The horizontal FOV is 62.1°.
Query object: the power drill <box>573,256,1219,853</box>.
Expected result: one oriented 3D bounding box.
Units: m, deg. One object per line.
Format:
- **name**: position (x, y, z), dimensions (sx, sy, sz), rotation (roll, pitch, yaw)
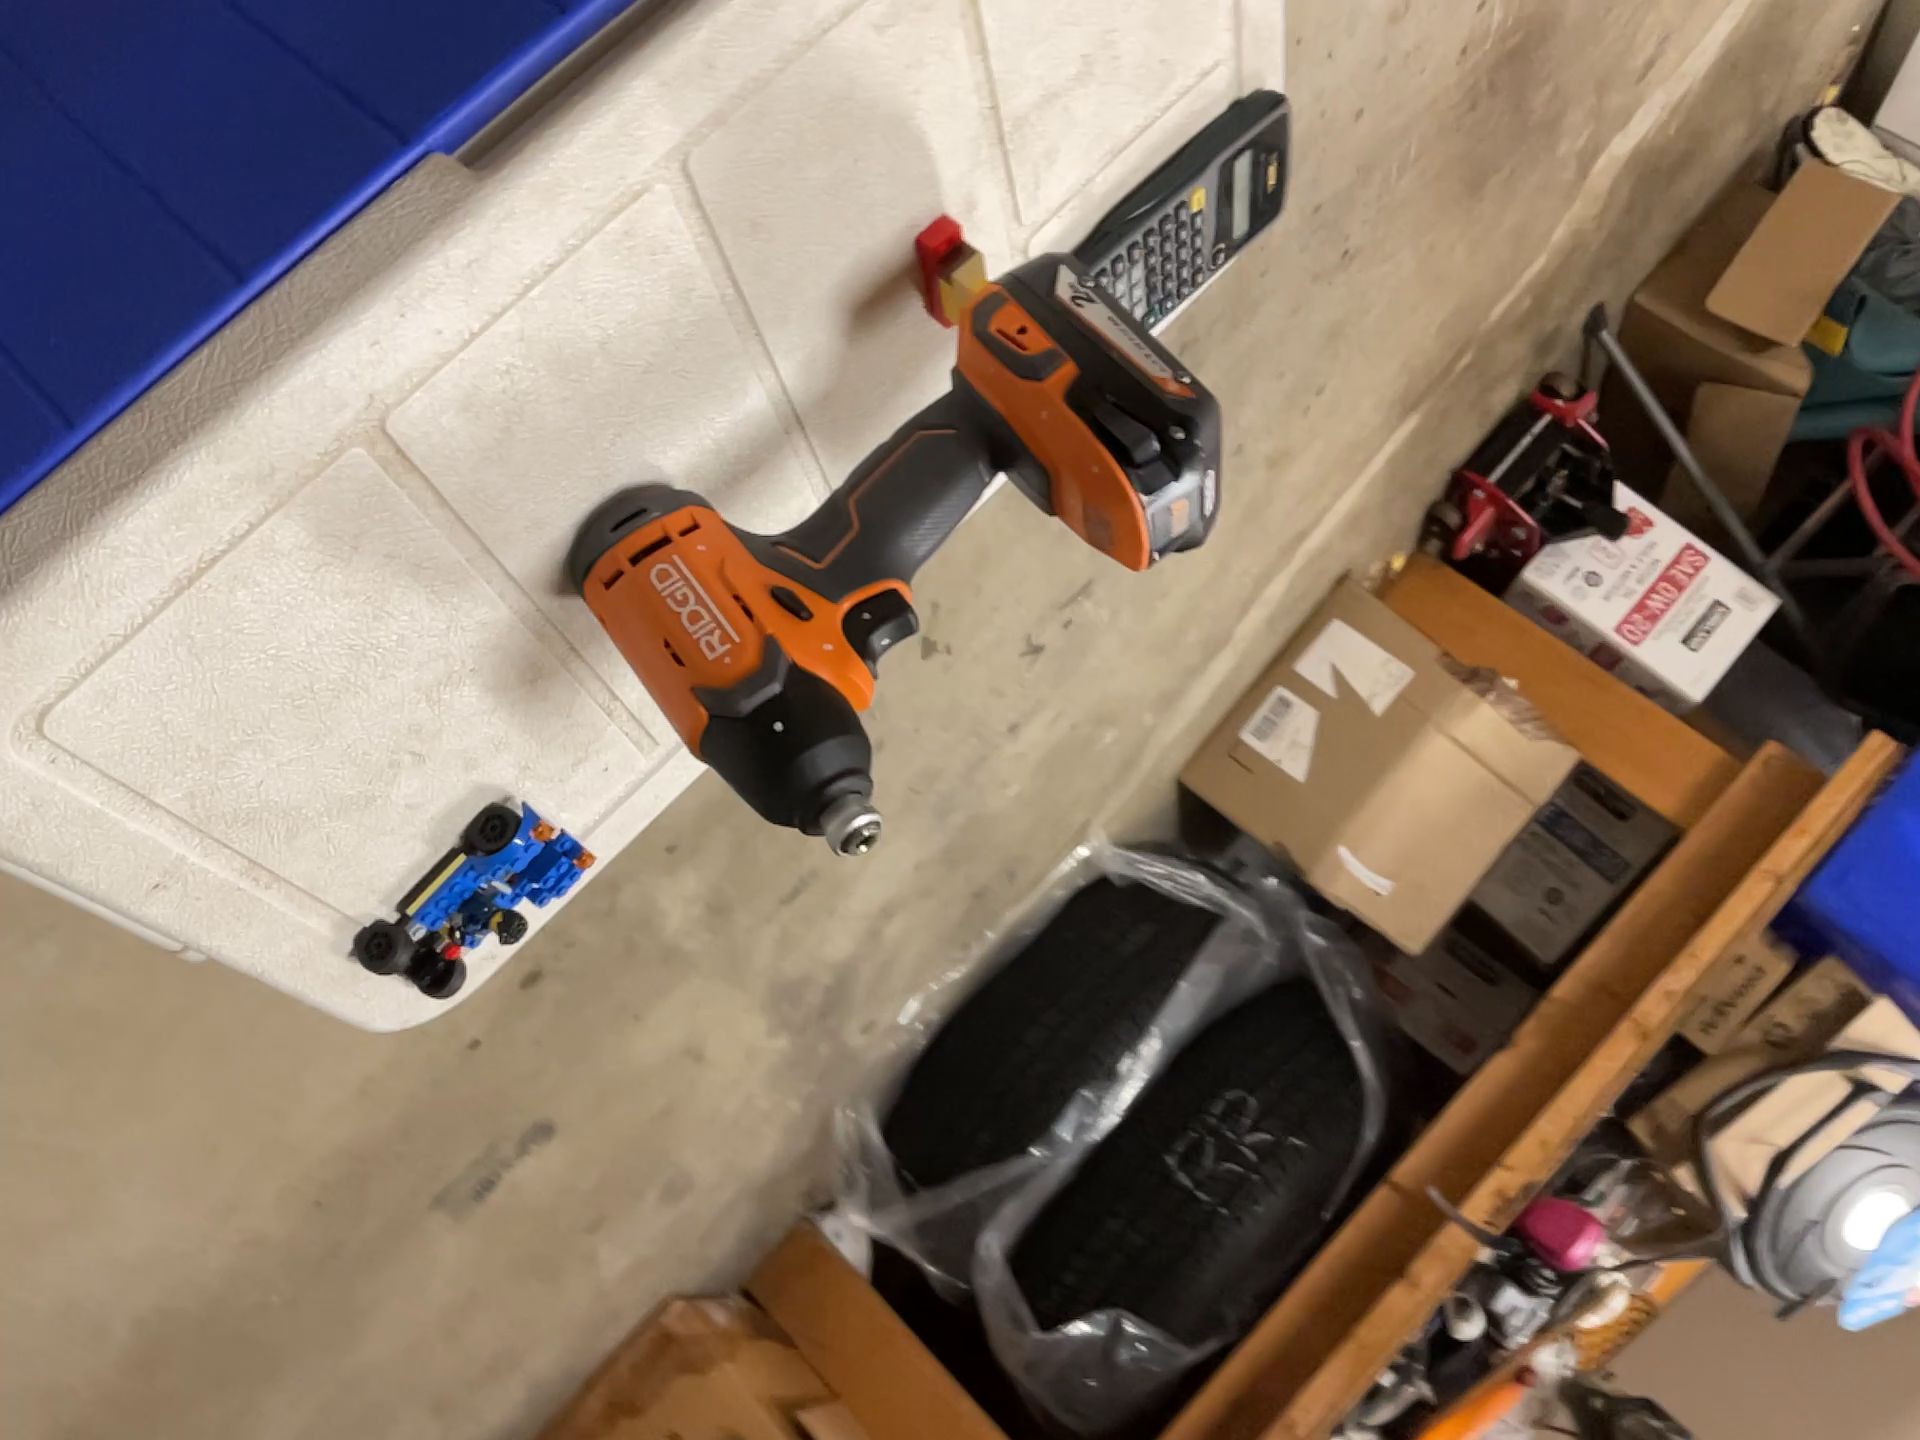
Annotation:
- **power drill**: position (-0.013, -0.060, 0.603), dimensions (0.226, 0.164, 0.084), rotation (-34, 154, -9)
